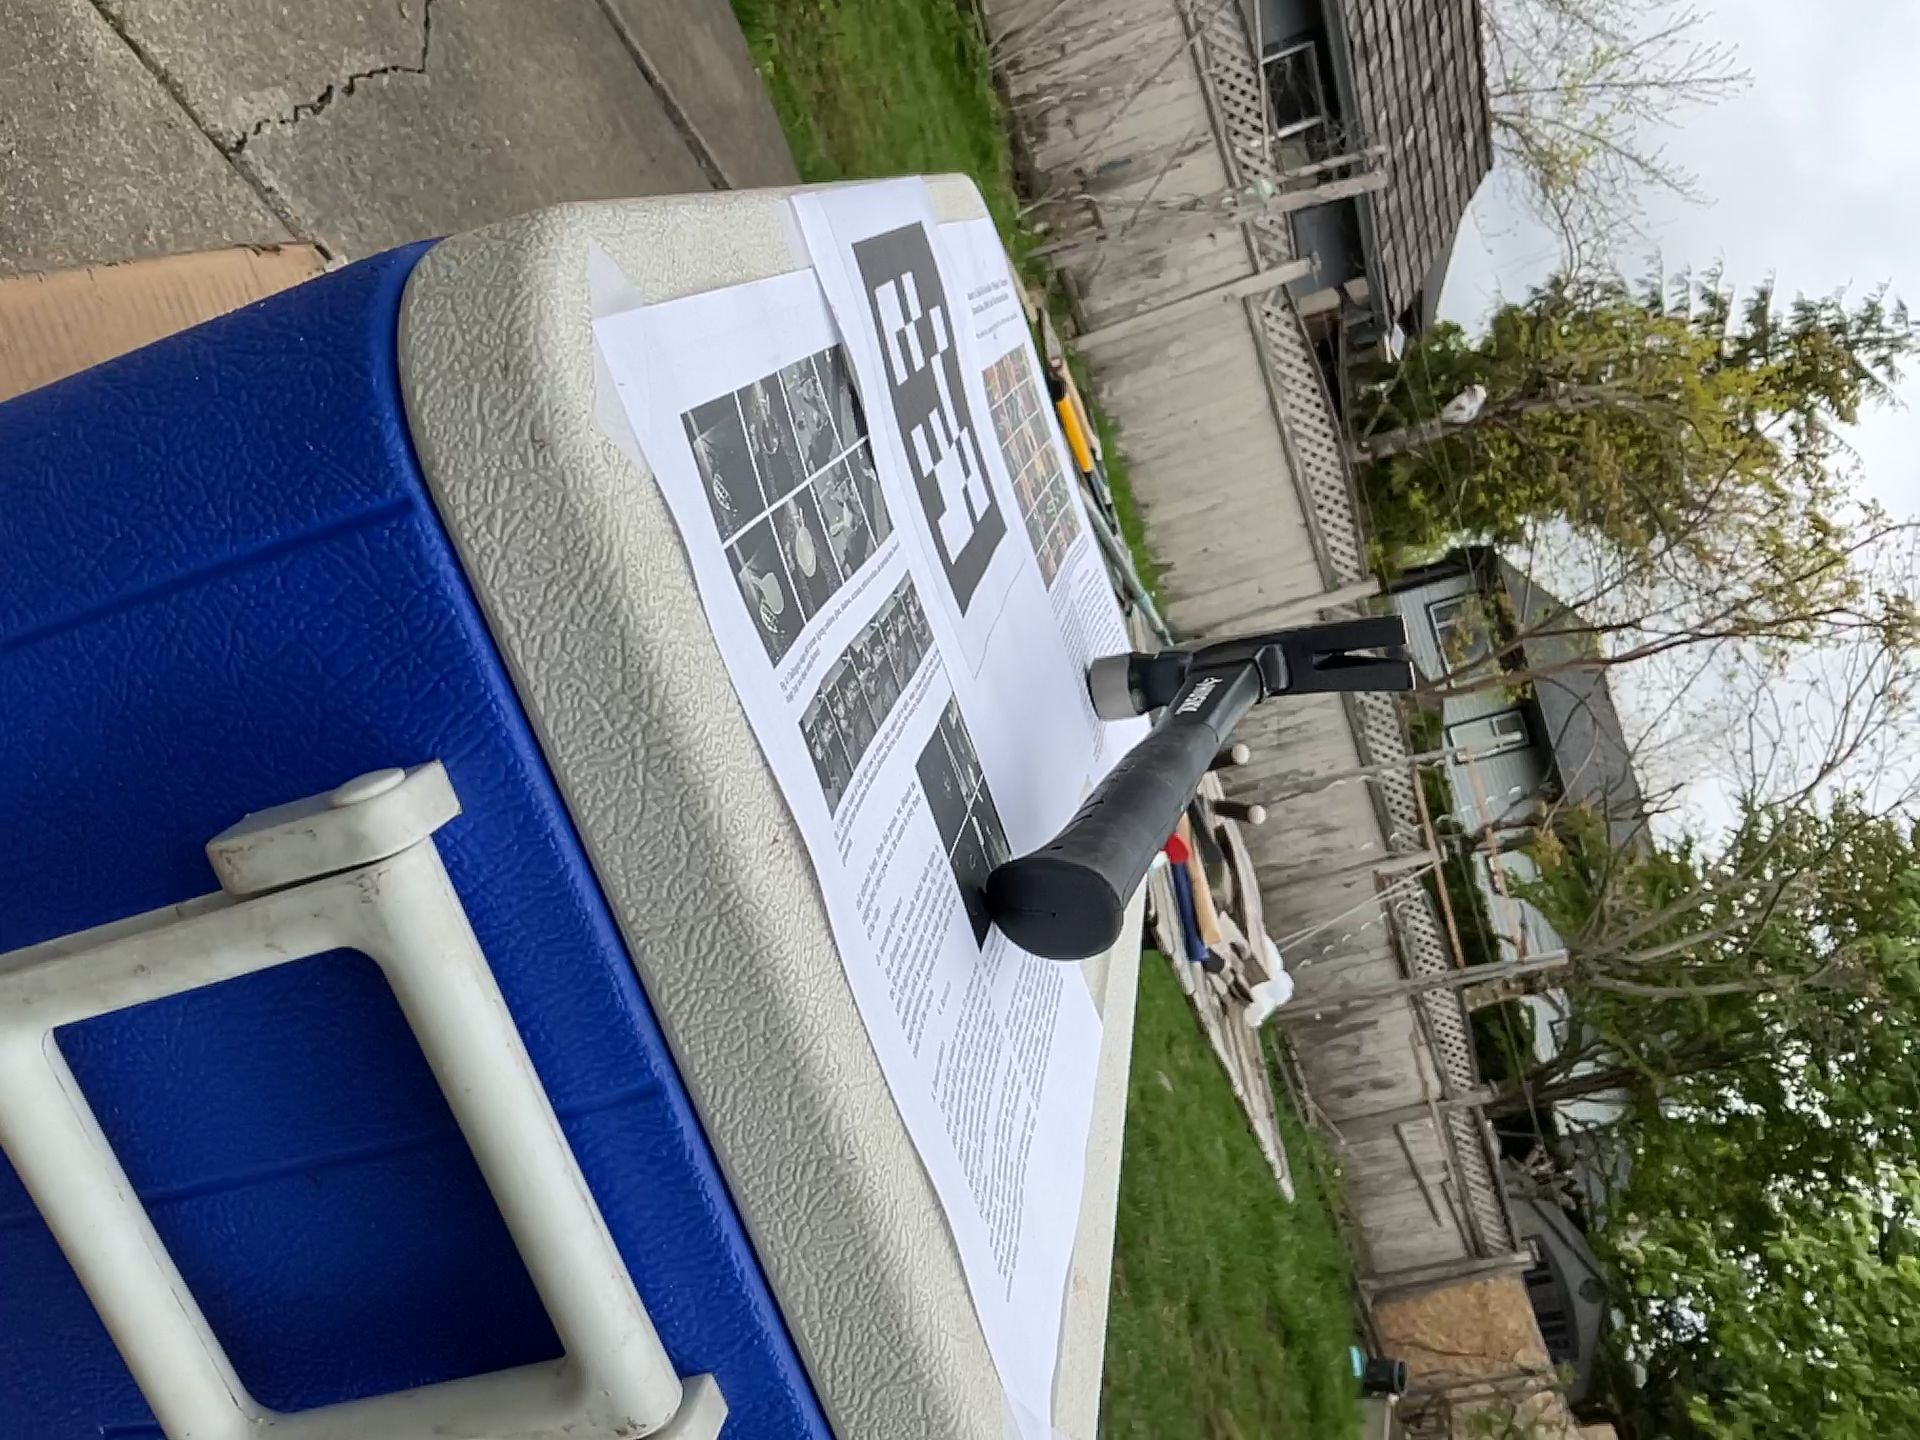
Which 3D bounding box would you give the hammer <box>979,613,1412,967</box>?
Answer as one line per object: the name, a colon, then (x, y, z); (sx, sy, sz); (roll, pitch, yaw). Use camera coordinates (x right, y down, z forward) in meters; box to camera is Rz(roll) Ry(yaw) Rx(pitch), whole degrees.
hammer: (0.083, 0.014, 0.594); (0.335, 0.146, 0.035); (-38, 117, -66)
